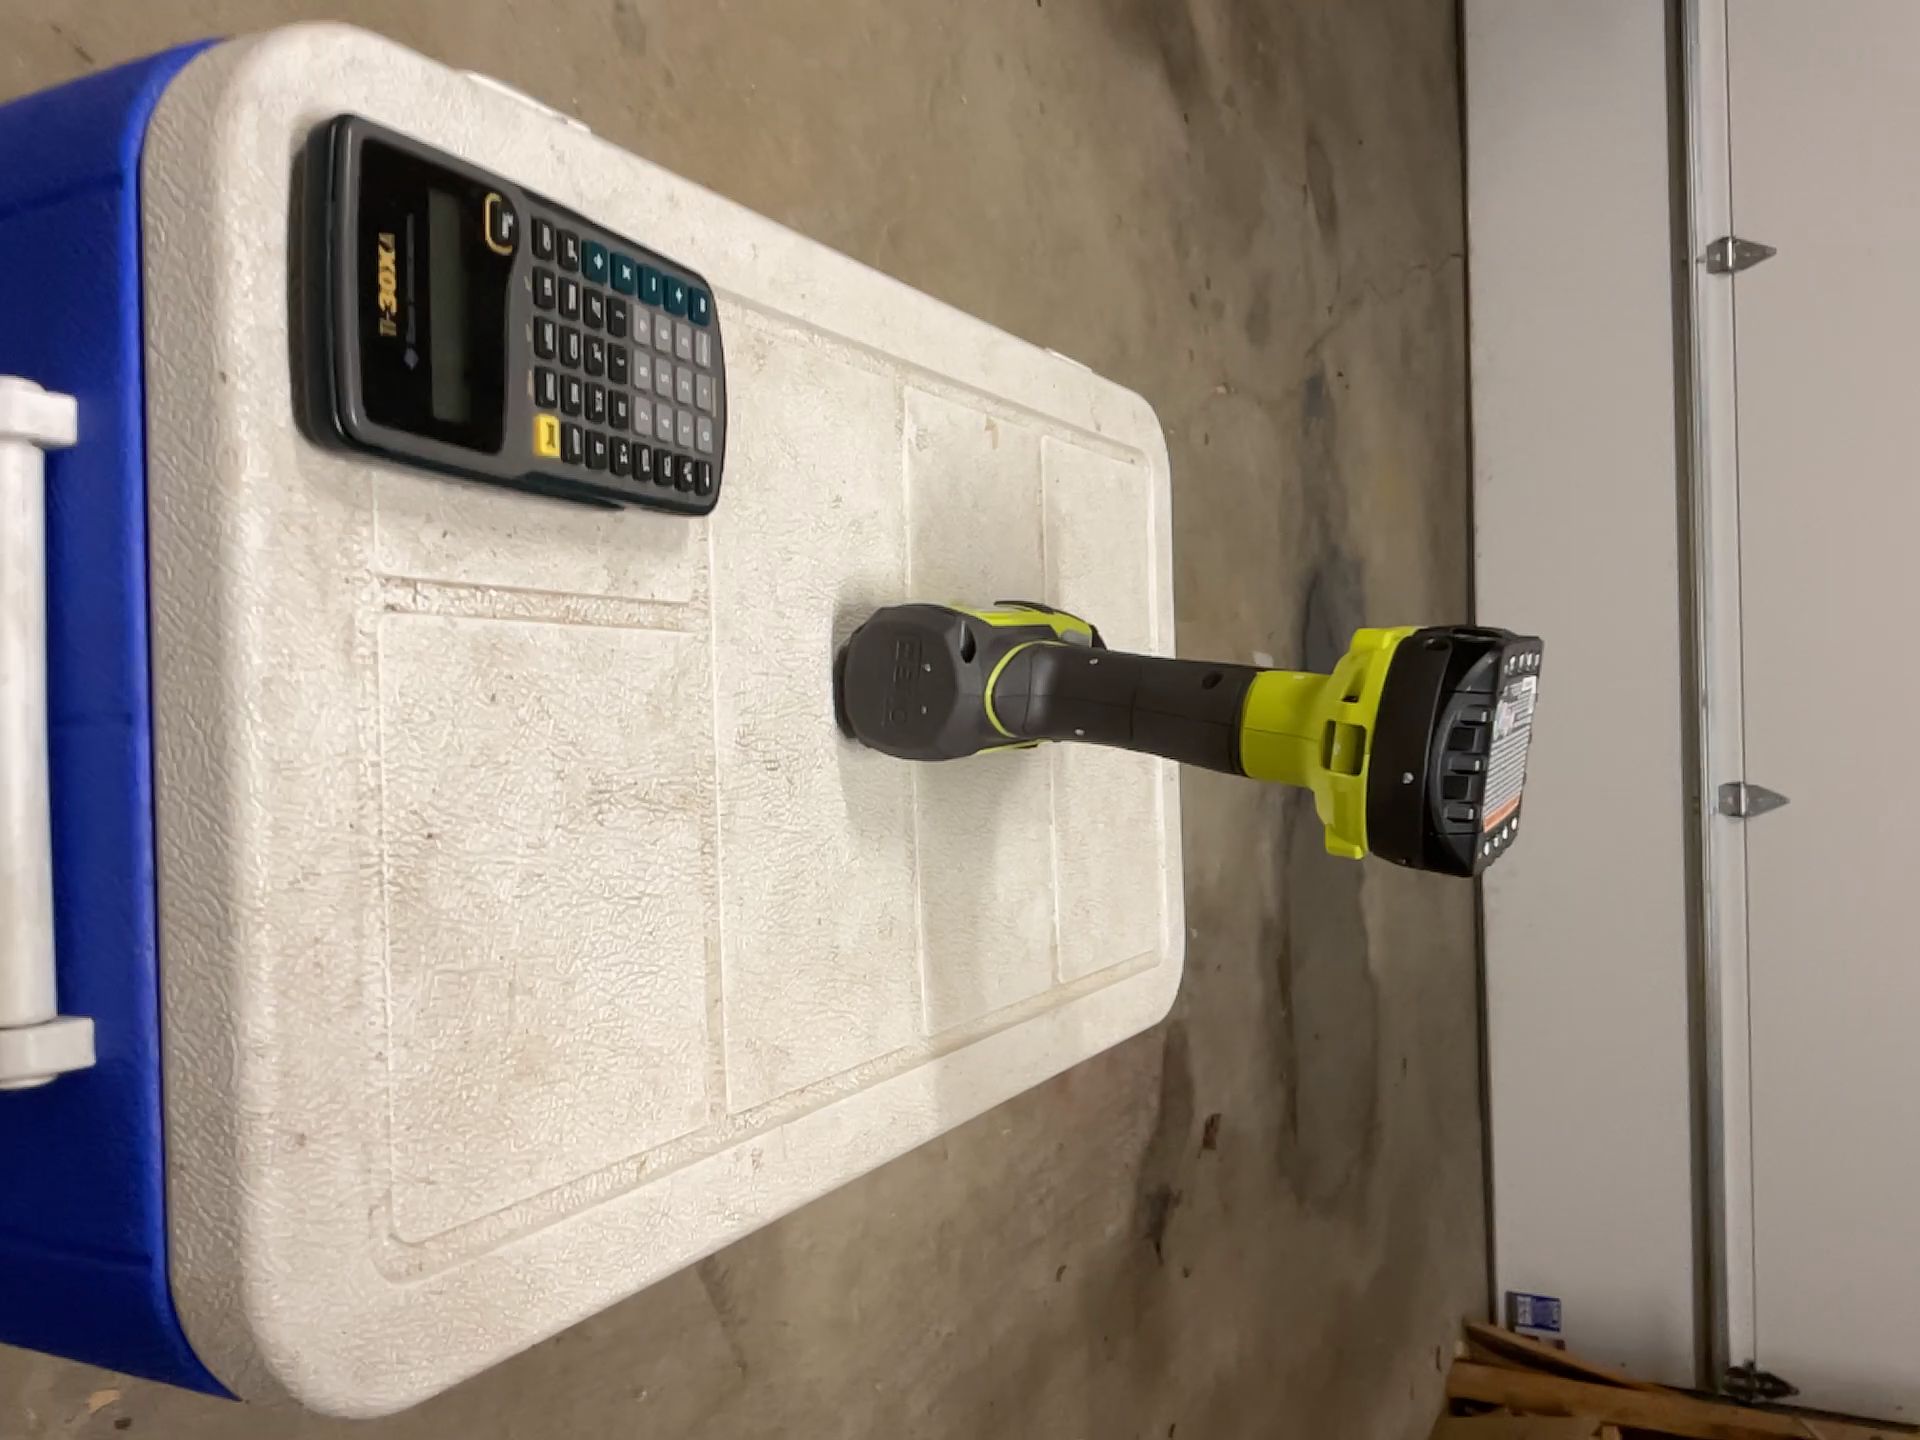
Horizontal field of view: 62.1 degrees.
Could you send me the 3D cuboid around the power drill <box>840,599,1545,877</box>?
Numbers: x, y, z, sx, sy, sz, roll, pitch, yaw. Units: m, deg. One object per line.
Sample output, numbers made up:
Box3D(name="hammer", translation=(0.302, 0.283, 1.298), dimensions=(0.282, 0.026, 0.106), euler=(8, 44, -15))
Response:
Box3D(name="power drill", translation=(0.091, -0.007, 0.593), dimensions=(0.171, 0.223, 0.080), euler=(-7, 104, -63))
